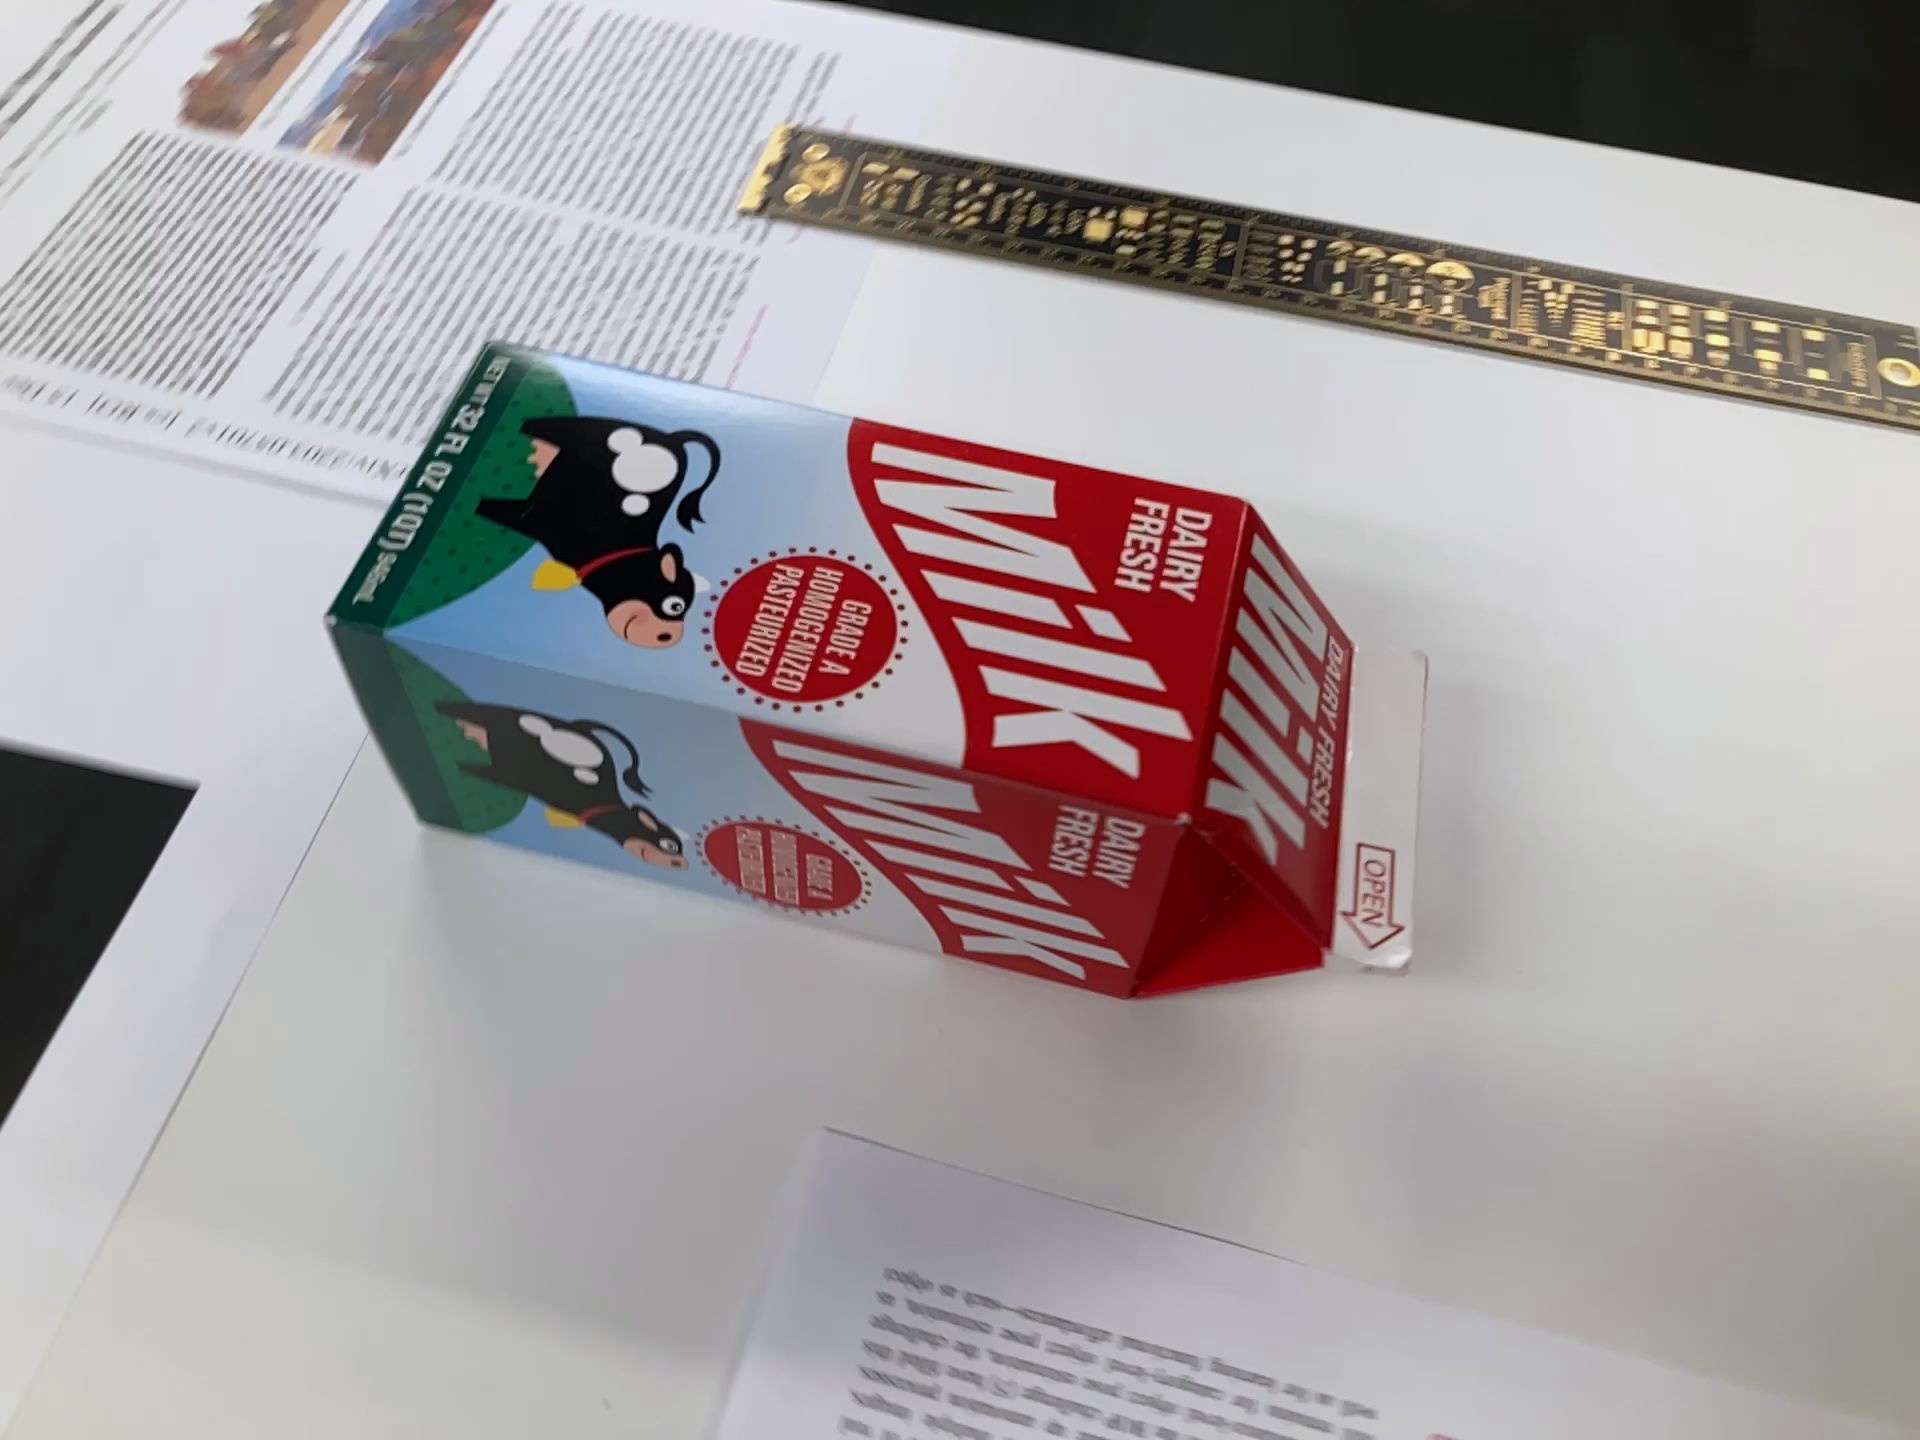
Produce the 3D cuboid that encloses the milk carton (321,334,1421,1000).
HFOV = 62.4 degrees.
[{"bbox_3d":[-0.009,-0.005,0.302,0.190,0.073,0.072,13,56,5],"label":"milk carton"}]
